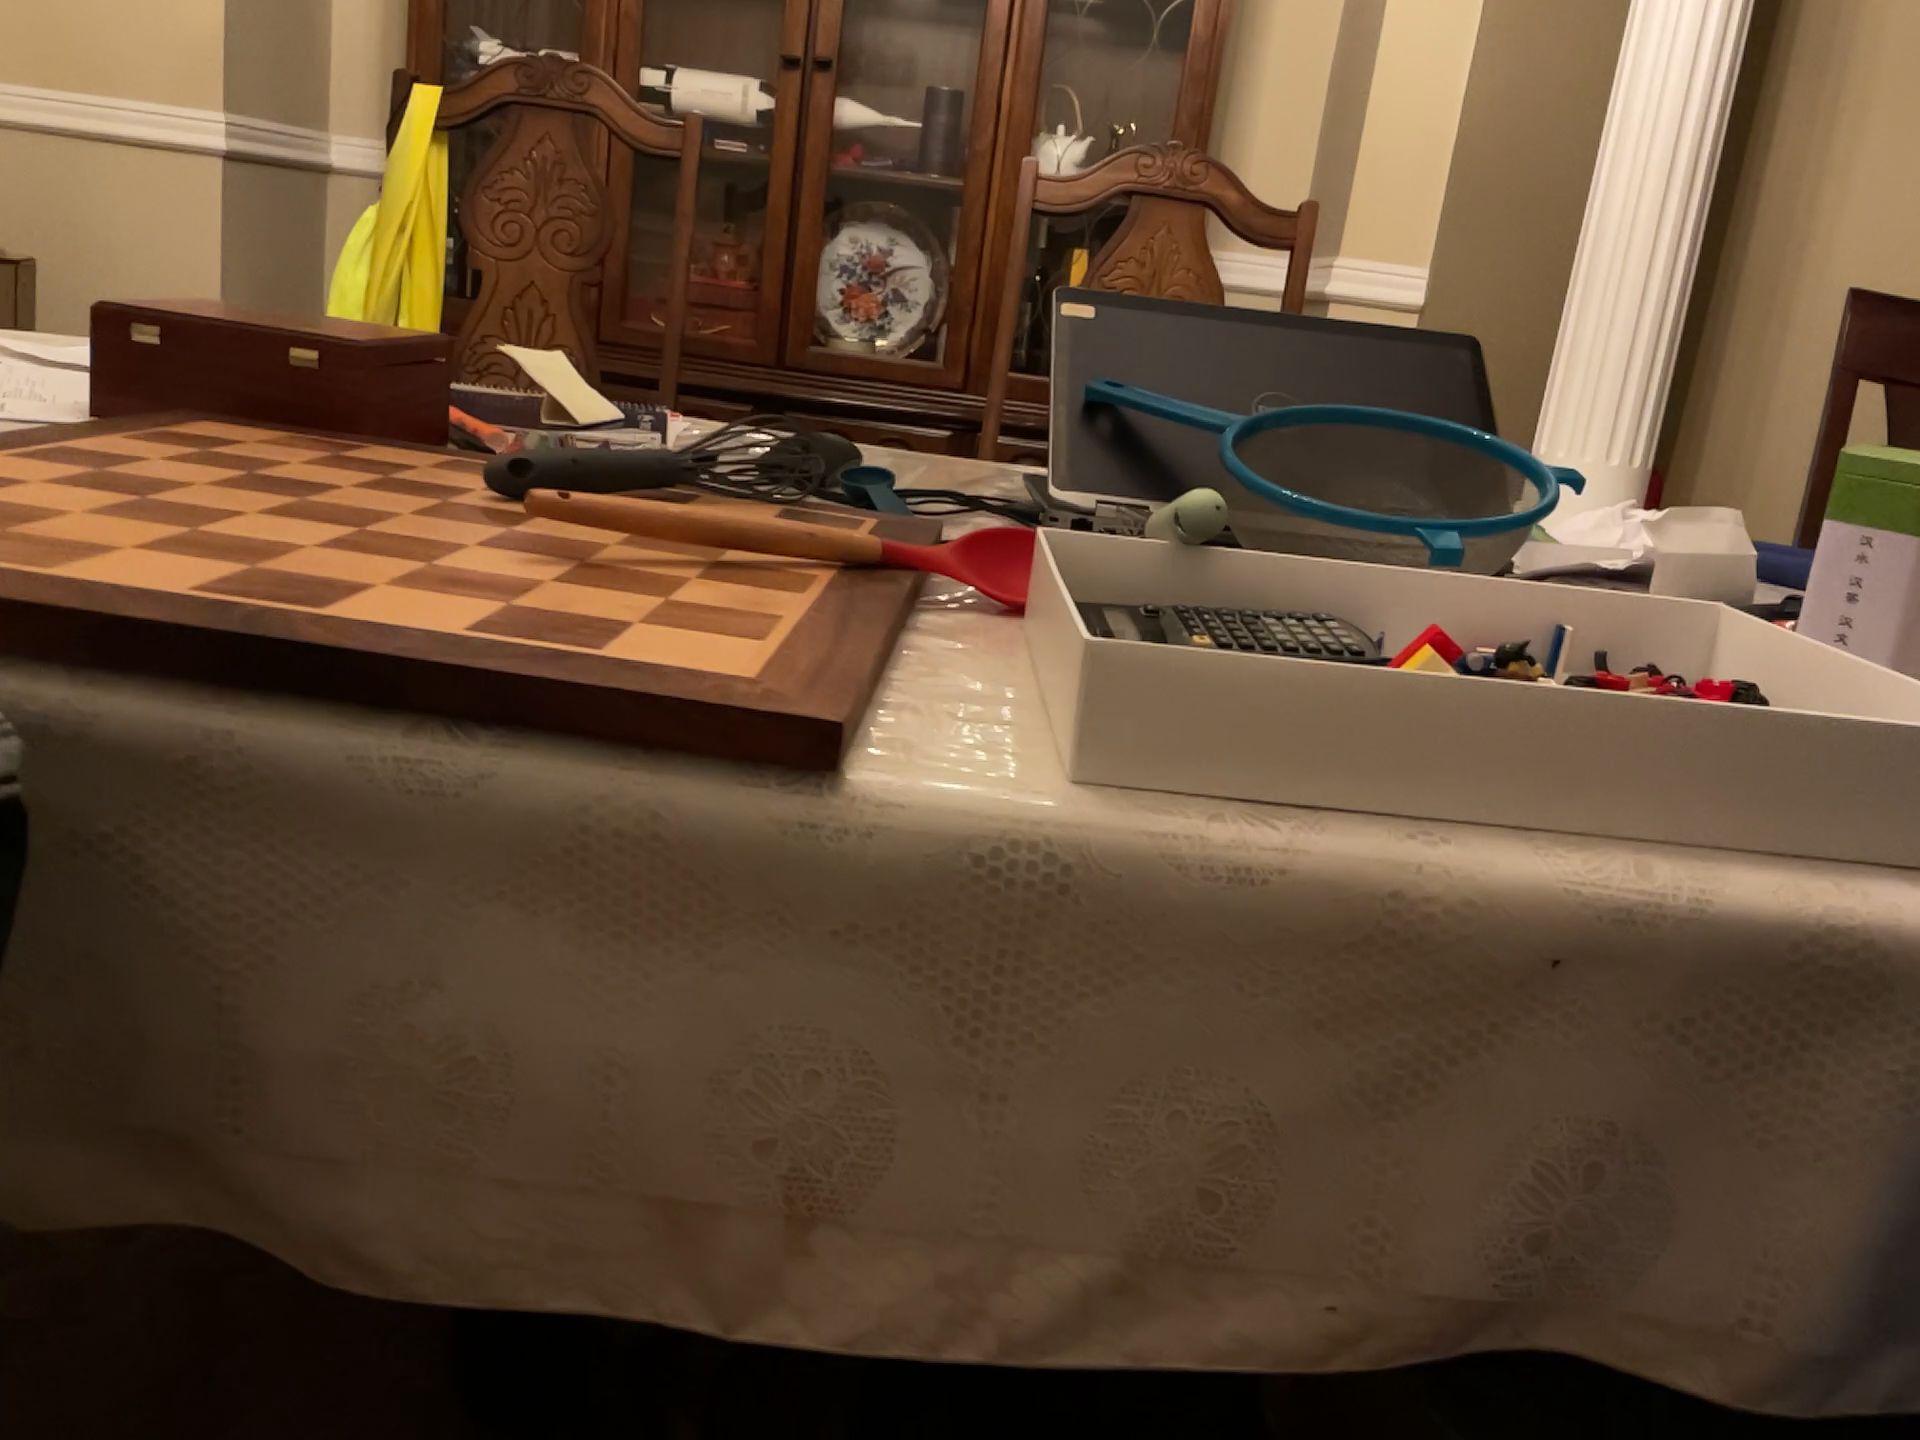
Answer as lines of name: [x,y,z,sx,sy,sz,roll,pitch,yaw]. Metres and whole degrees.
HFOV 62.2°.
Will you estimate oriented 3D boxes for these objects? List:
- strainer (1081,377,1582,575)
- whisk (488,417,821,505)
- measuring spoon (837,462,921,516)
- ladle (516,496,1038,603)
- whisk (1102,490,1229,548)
strainer: [0.216,-0.148,1.059,0.341,0.095,0.211,25,35,34]
whisk: [-0.171,-0.145,0.931,0.055,0.055,0.238,3,13,43]
measuring spoon: [-0.051,-0.147,1.099,0.042,0.021,0.129,-7,32,-21]
ladle: [-0.066,-0.088,0.793,0.315,0.031,0.069,2,37,-35]
whisk: [0.114,-0.103,0.882,0.059,0.058,0.246,-23,3,-1]
